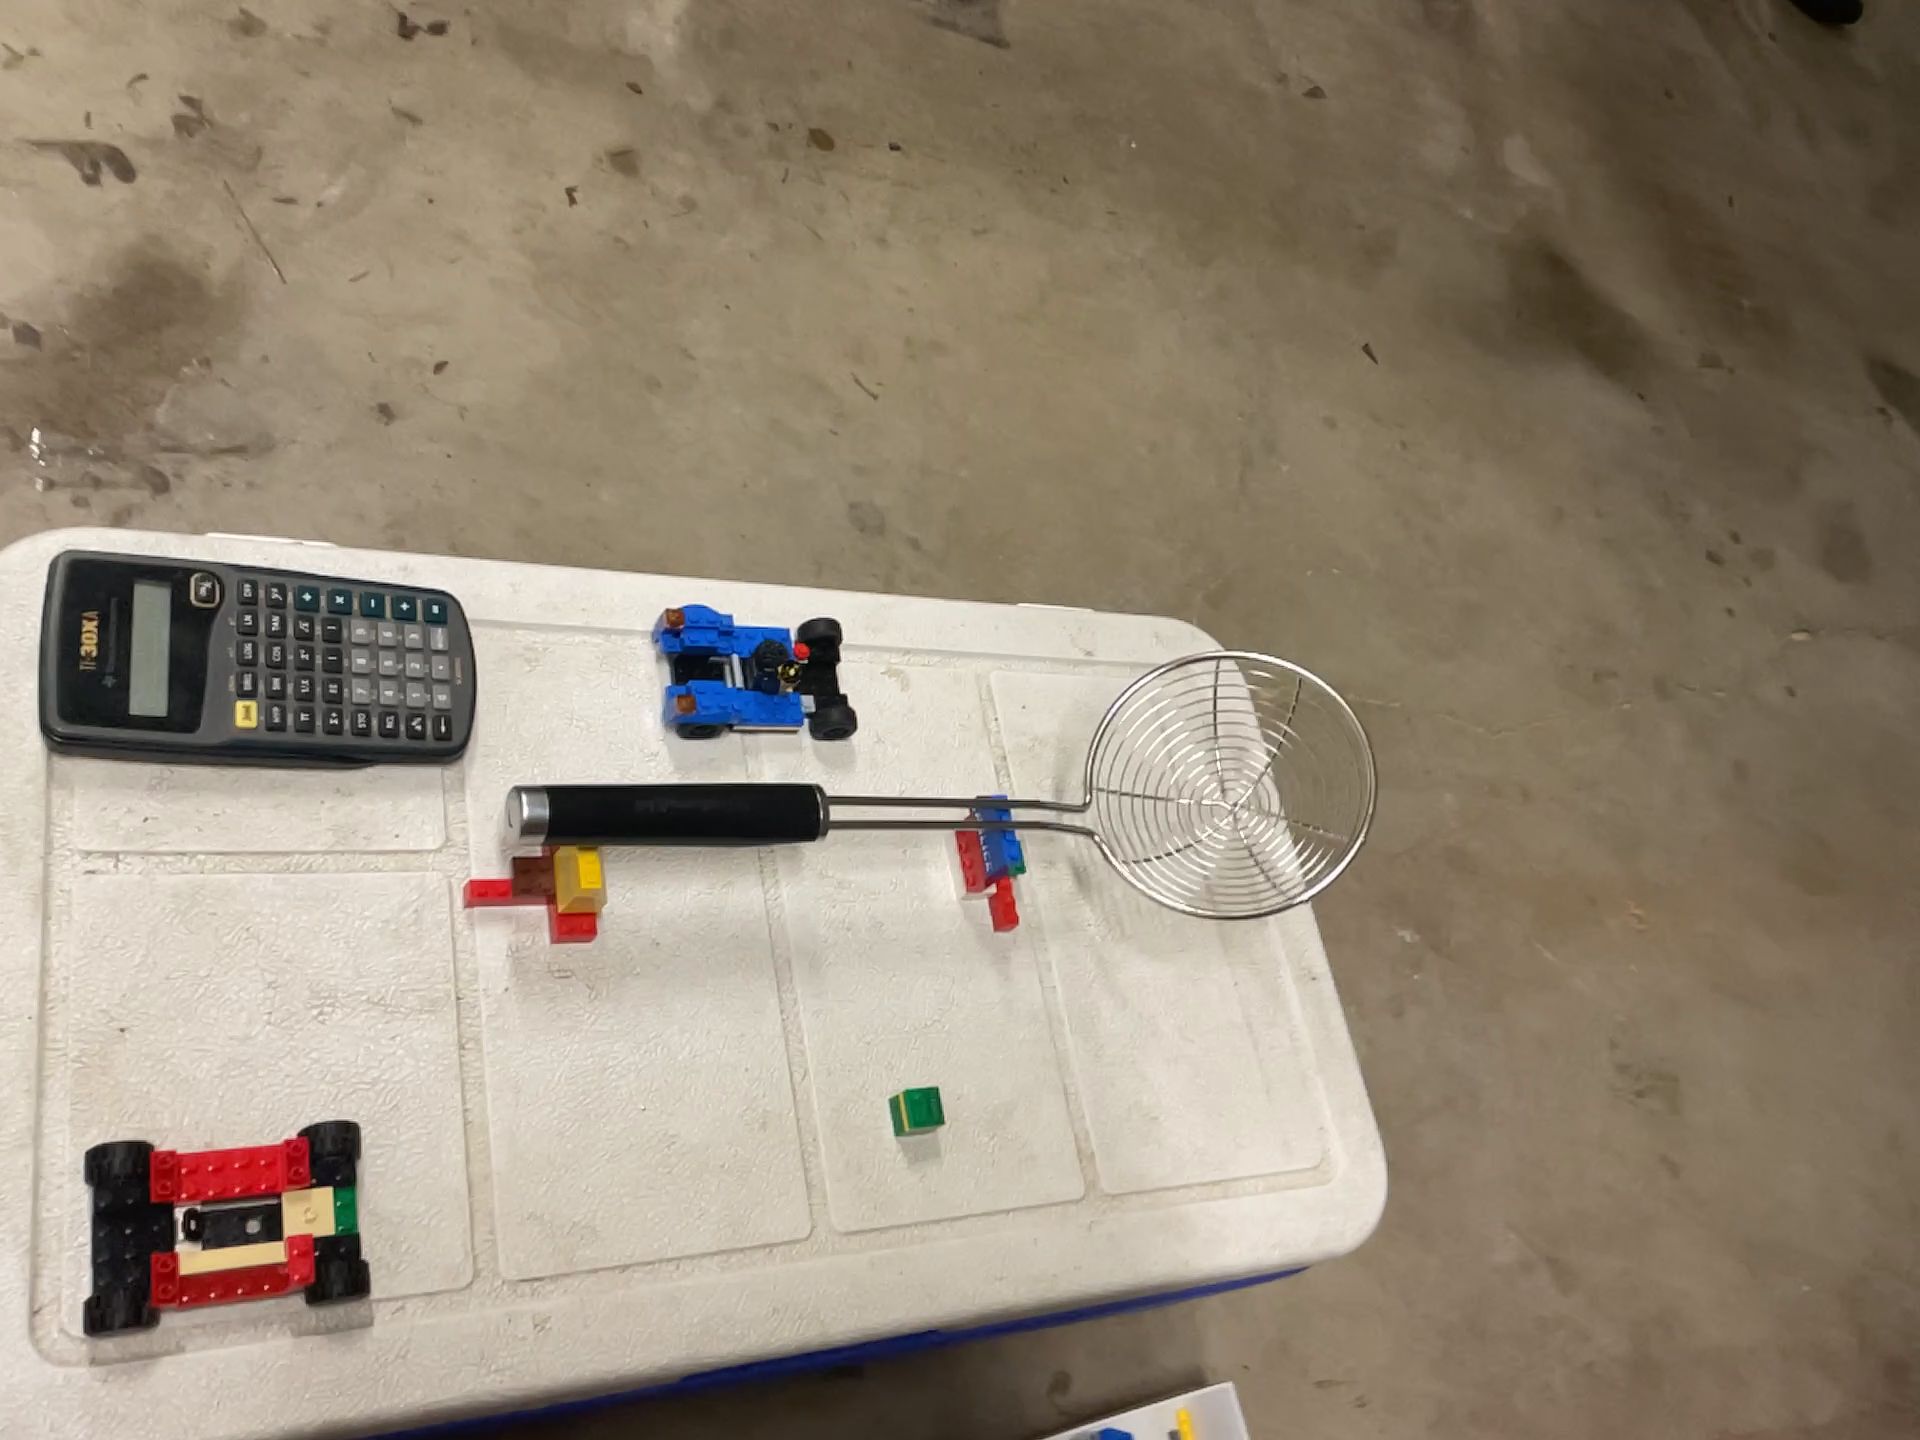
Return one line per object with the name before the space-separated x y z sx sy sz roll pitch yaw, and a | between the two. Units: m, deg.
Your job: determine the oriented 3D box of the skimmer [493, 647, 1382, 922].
skimmer | 0.006 0.024 0.634 0.363 0.090 0.128 2 62 -31
